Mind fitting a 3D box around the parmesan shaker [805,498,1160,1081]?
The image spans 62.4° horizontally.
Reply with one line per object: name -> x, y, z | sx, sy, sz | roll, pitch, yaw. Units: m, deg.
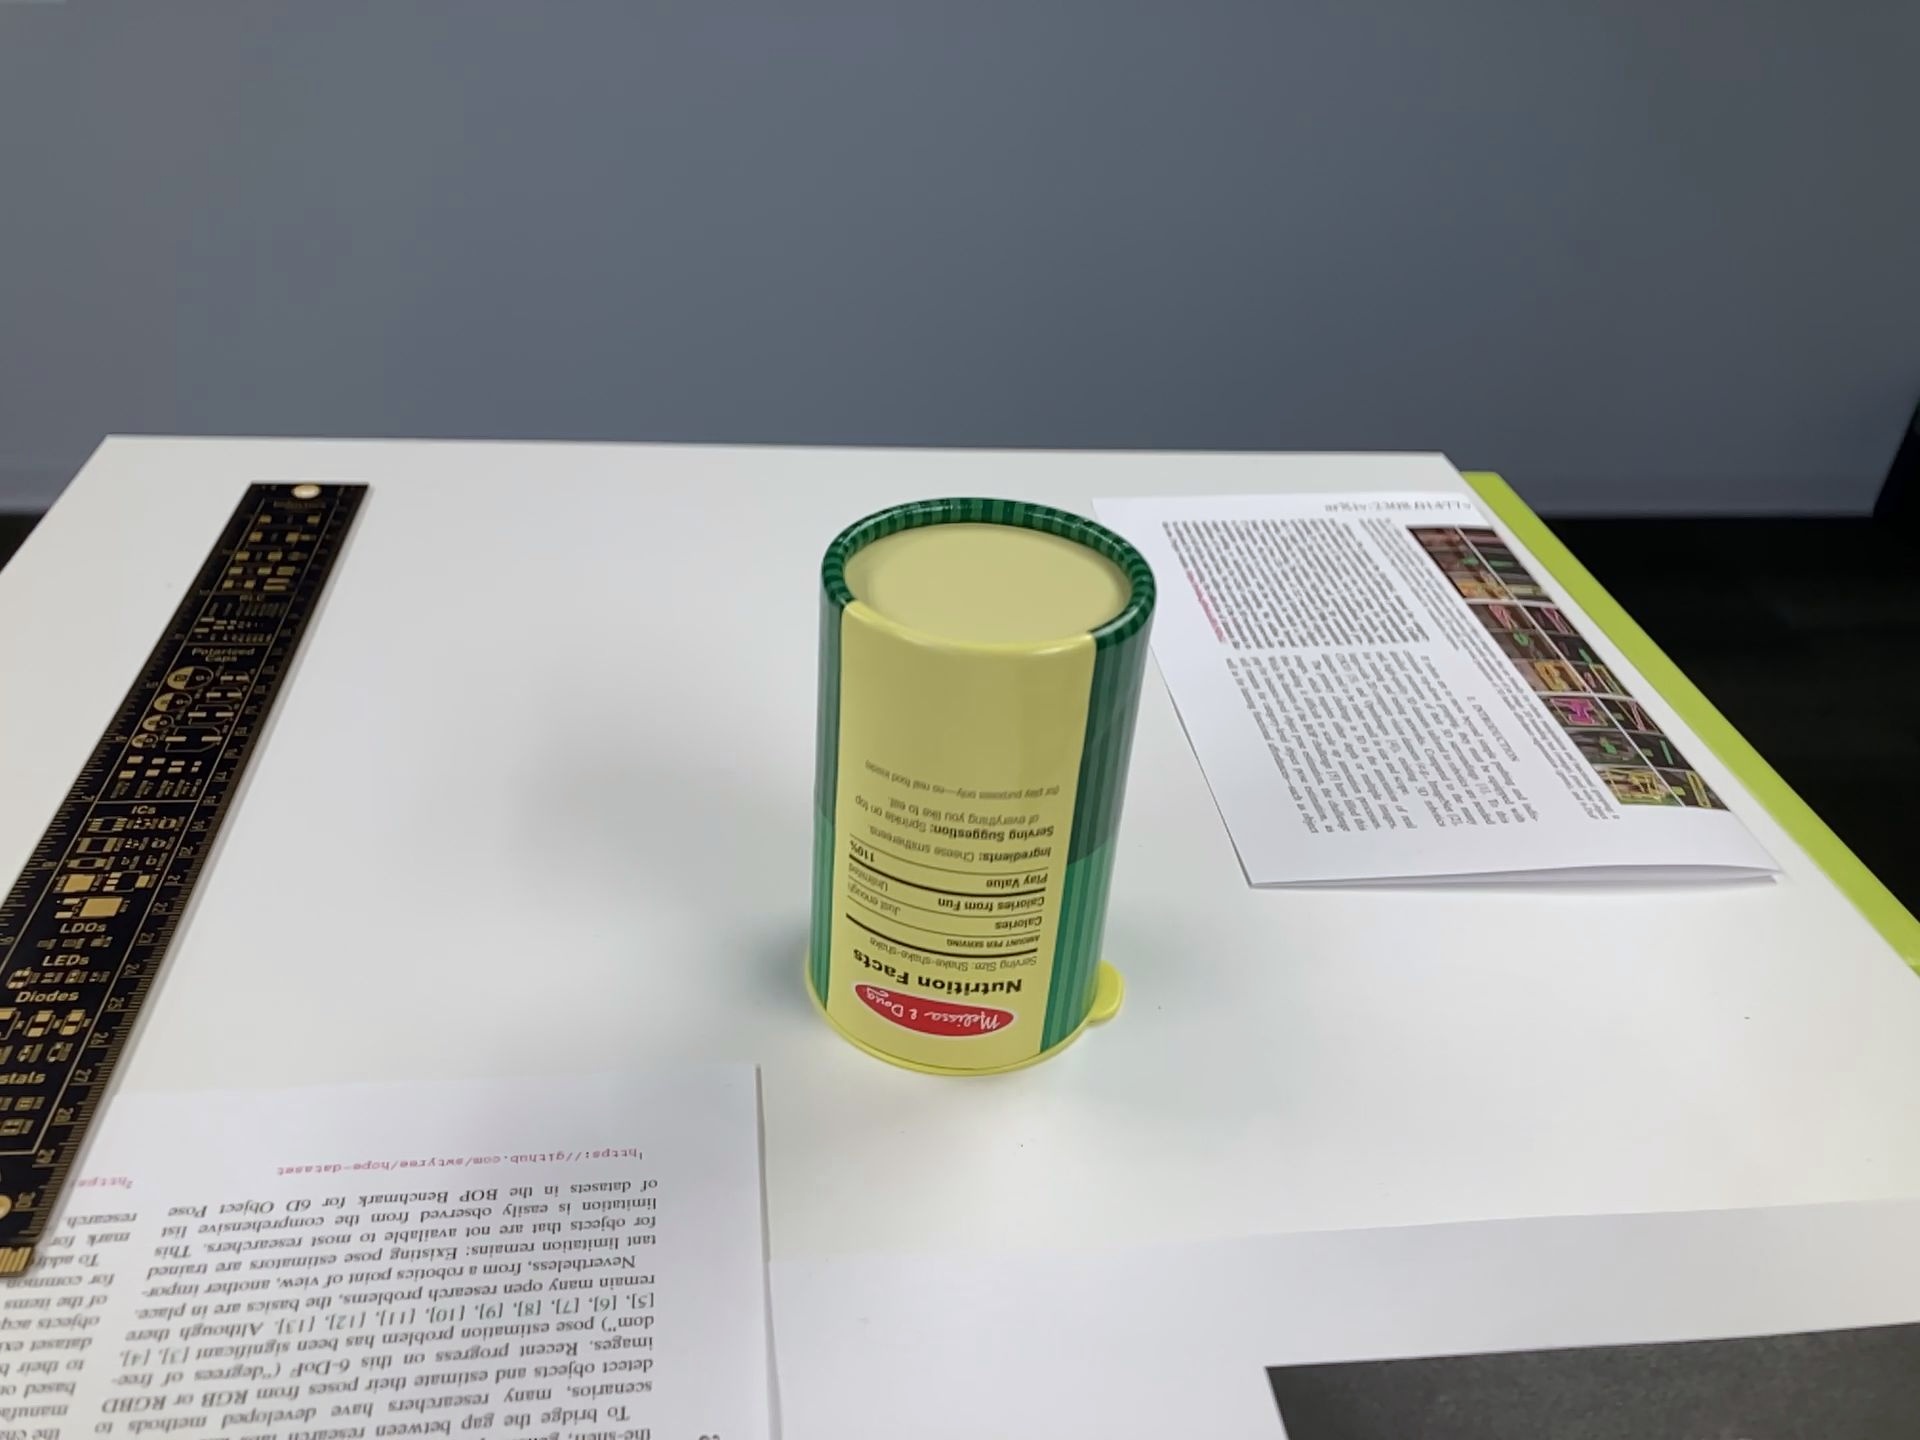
parmesan shaker -> 0.005, 0.014, 0.327 | 0.071, 0.103, 0.071 | 4, 33, -2
